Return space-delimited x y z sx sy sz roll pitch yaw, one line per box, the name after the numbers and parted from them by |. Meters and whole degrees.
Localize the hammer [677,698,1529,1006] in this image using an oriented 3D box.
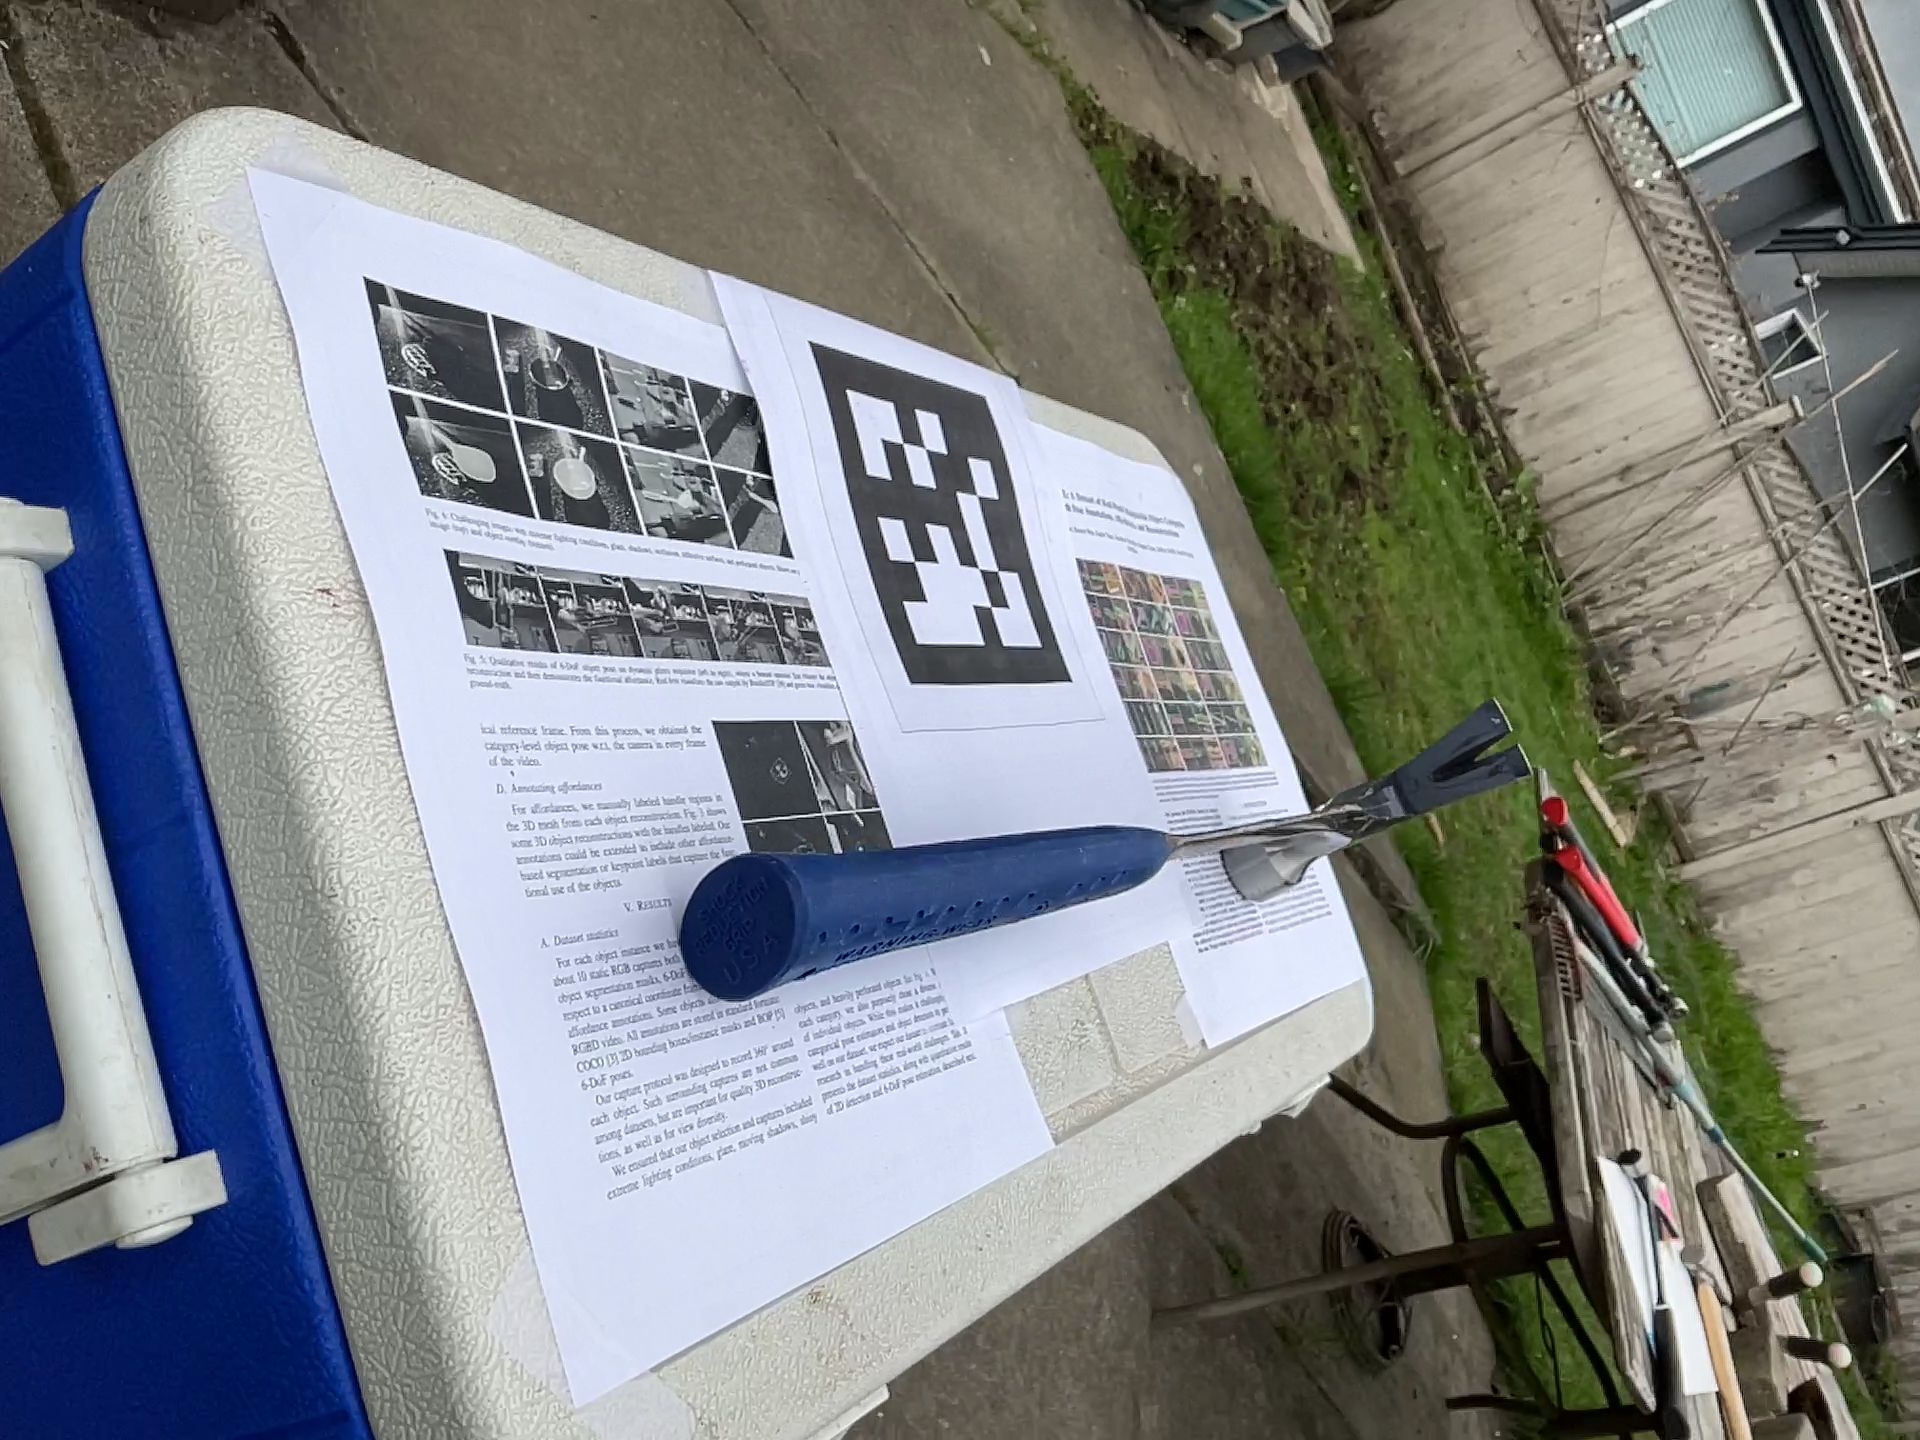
0.070 0.042 0.544 0.405 0.144 0.035 -2 65 -54 | hammer
